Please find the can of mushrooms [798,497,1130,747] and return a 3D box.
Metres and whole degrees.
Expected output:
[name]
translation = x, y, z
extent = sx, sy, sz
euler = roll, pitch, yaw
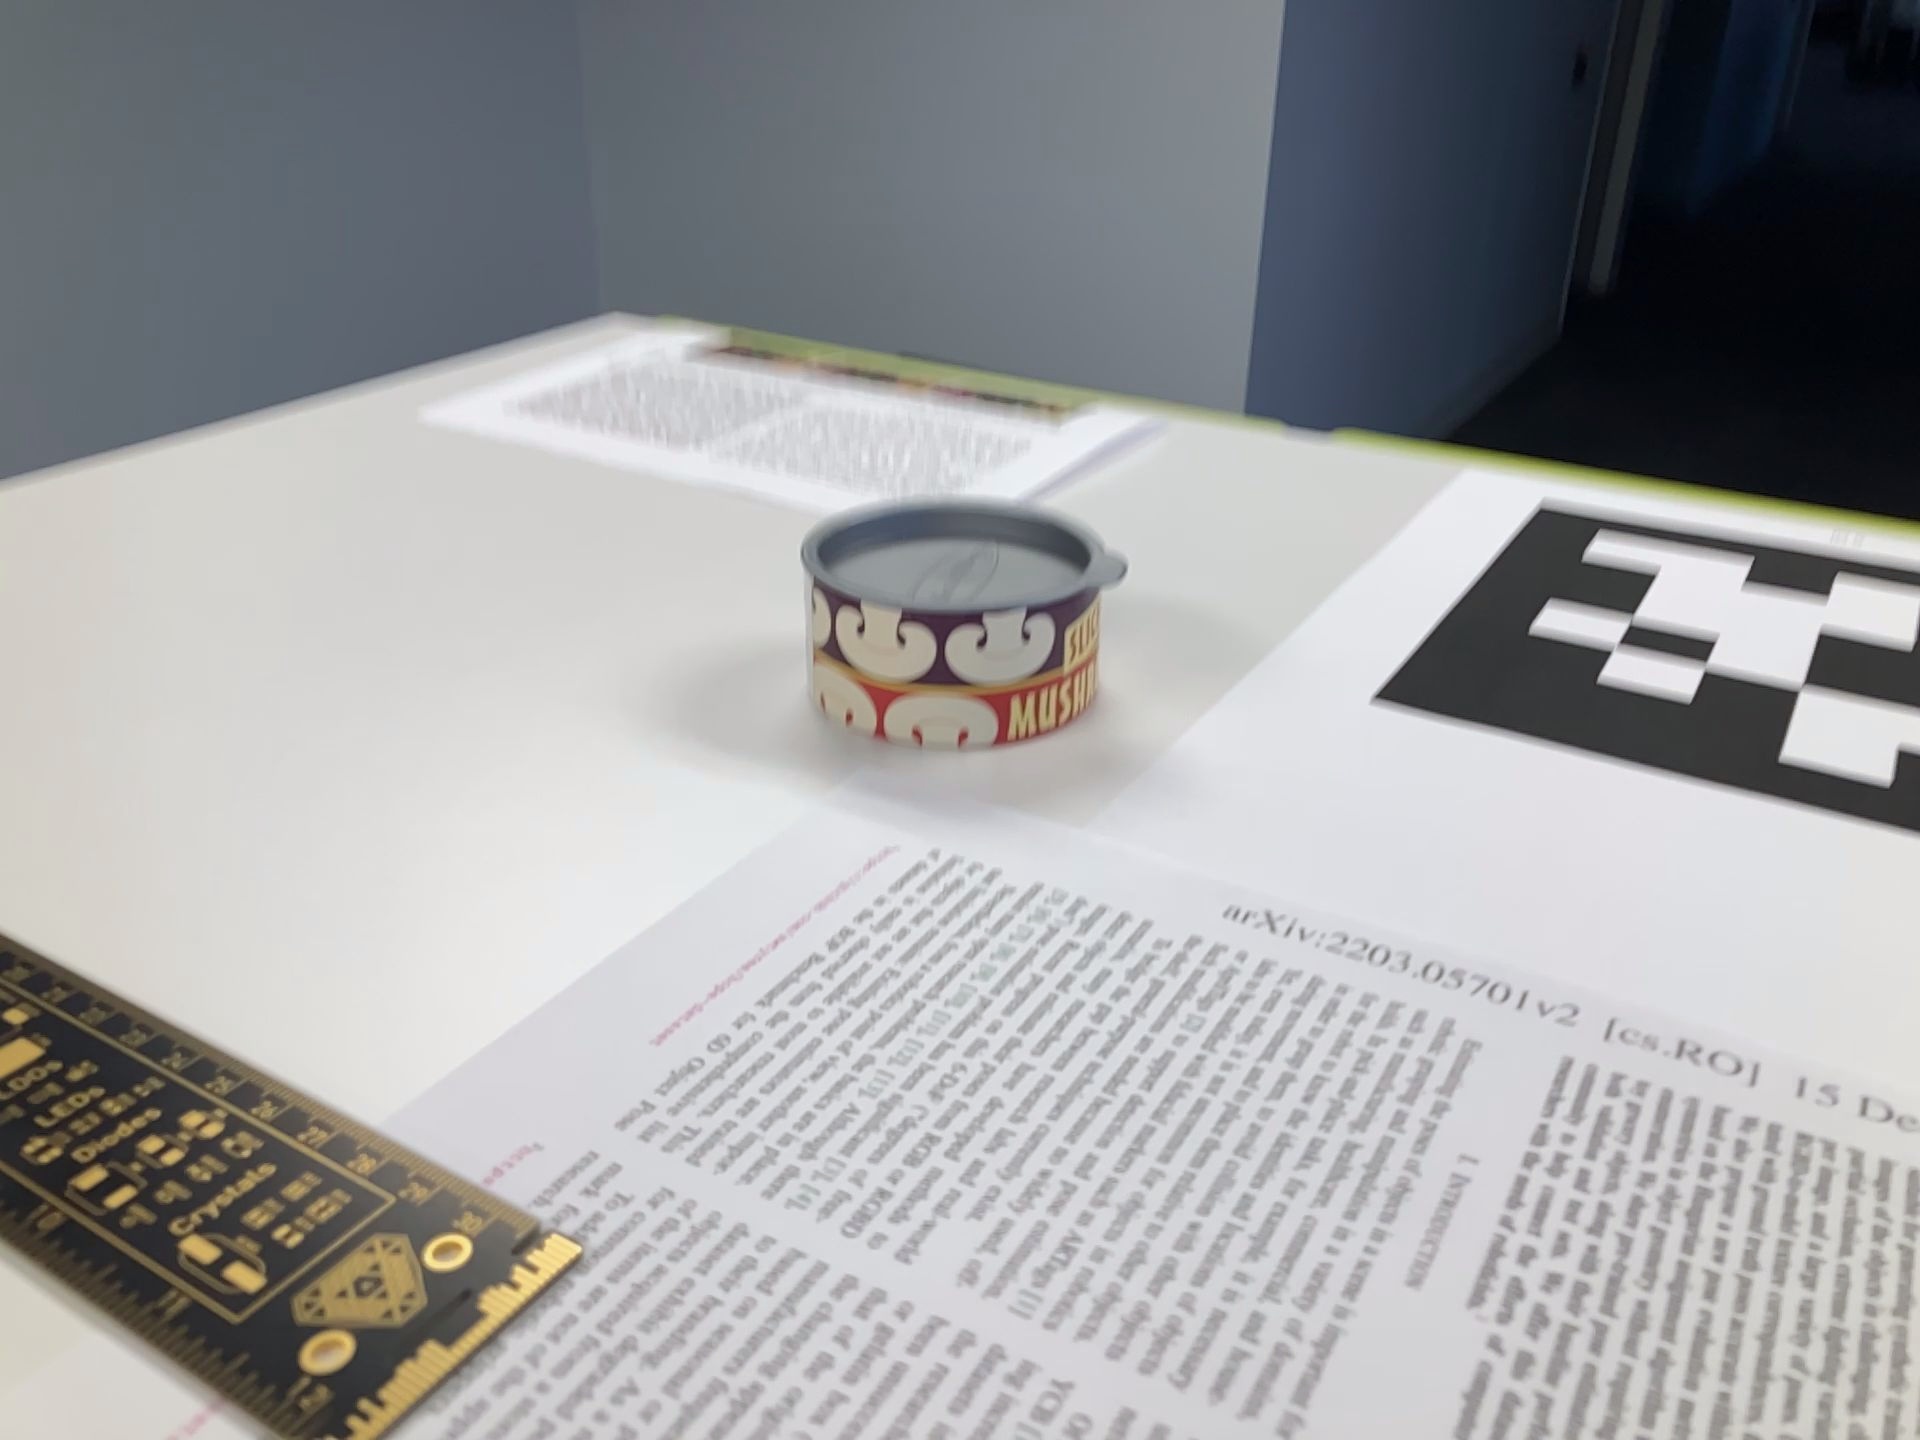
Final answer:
[can of mushrooms]
translation = 0.001, -0.023, 0.345
extent = 0.071, 0.033, 0.071
euler = 1, 26, 0
